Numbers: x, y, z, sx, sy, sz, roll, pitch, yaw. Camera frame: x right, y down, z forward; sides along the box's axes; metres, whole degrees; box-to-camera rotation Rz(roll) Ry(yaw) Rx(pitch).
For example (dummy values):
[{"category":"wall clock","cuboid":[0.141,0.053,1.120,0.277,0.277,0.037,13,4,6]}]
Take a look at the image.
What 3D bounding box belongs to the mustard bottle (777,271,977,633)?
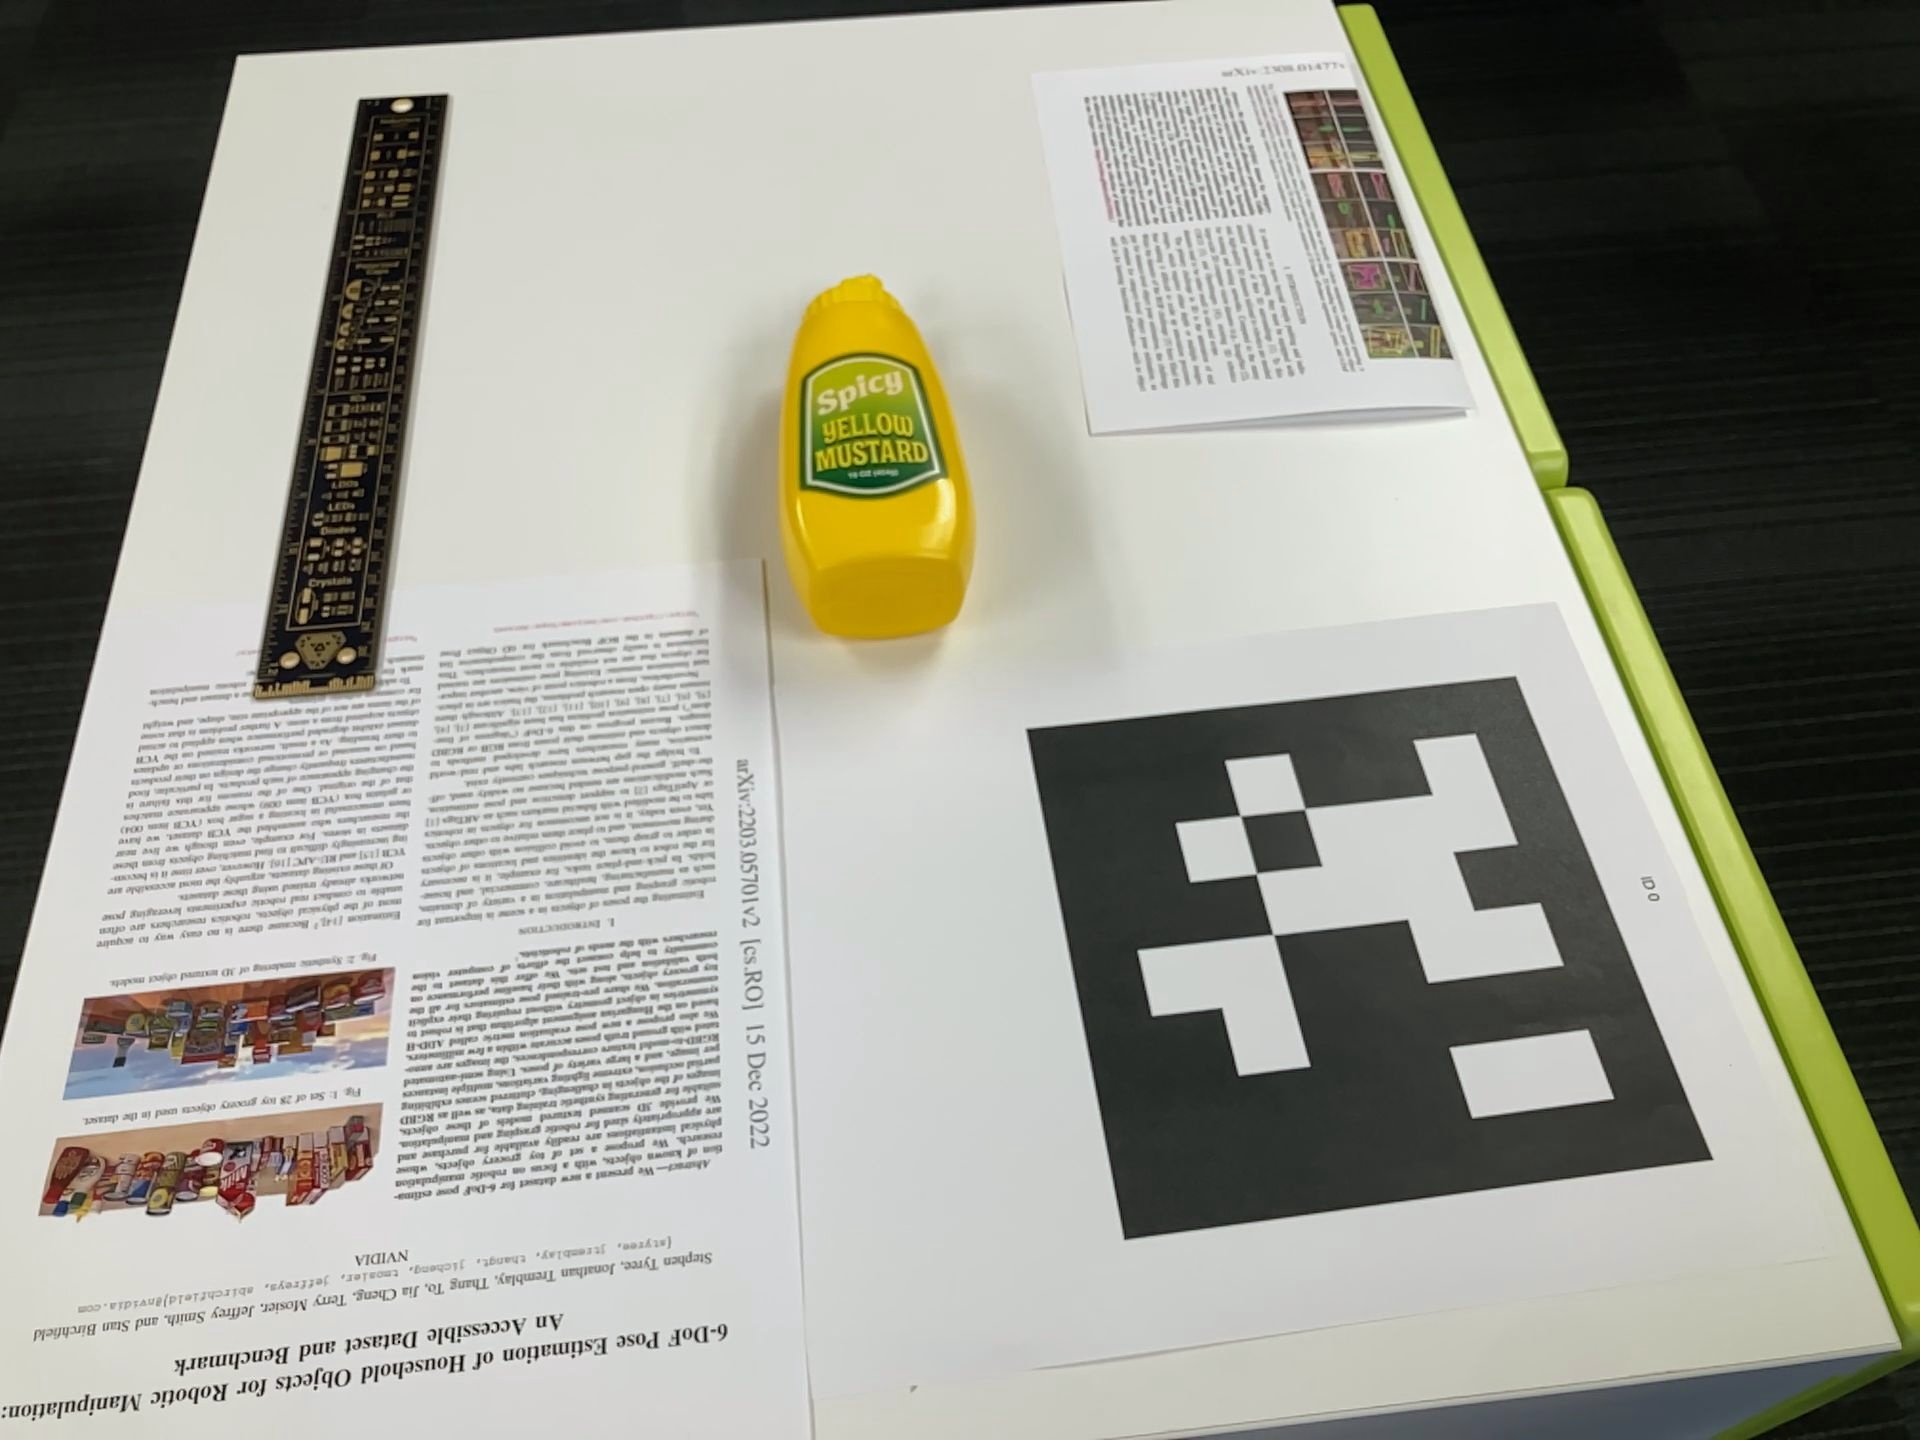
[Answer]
[{"category":"mustard bottle","cuboid":[-0.033,-0.105,0.549,0.065,0.049,0.160,-6,56,-5]}]
